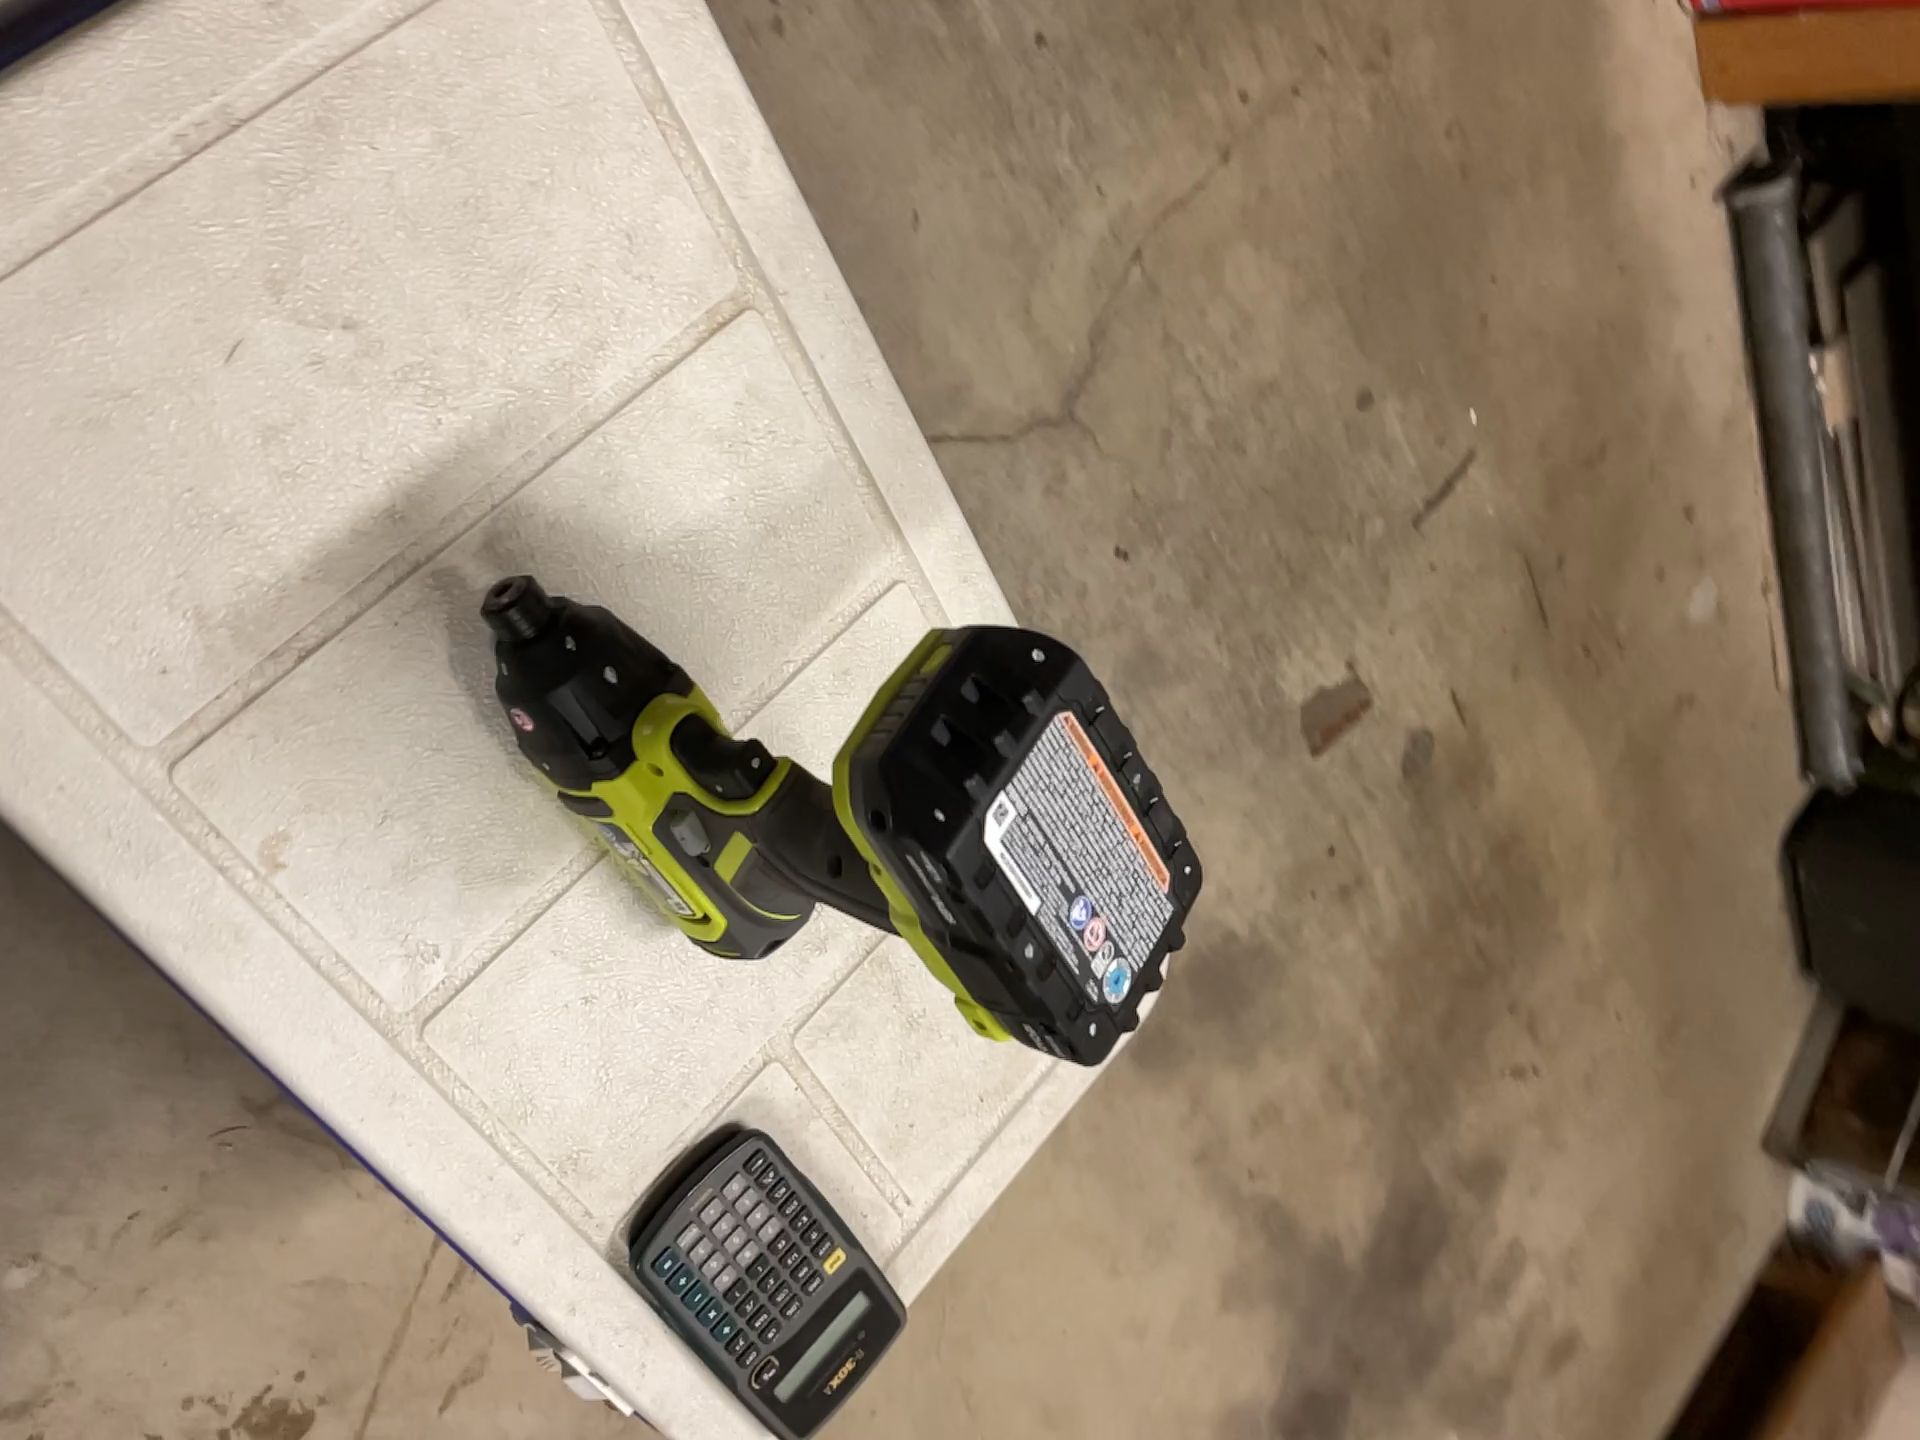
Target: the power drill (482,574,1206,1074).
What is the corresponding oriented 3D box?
[{"bbox_3d":[-0.050,0.025,0.510,0.080,0.223,0.171,-55,131,-28],"label":"power drill"}]
